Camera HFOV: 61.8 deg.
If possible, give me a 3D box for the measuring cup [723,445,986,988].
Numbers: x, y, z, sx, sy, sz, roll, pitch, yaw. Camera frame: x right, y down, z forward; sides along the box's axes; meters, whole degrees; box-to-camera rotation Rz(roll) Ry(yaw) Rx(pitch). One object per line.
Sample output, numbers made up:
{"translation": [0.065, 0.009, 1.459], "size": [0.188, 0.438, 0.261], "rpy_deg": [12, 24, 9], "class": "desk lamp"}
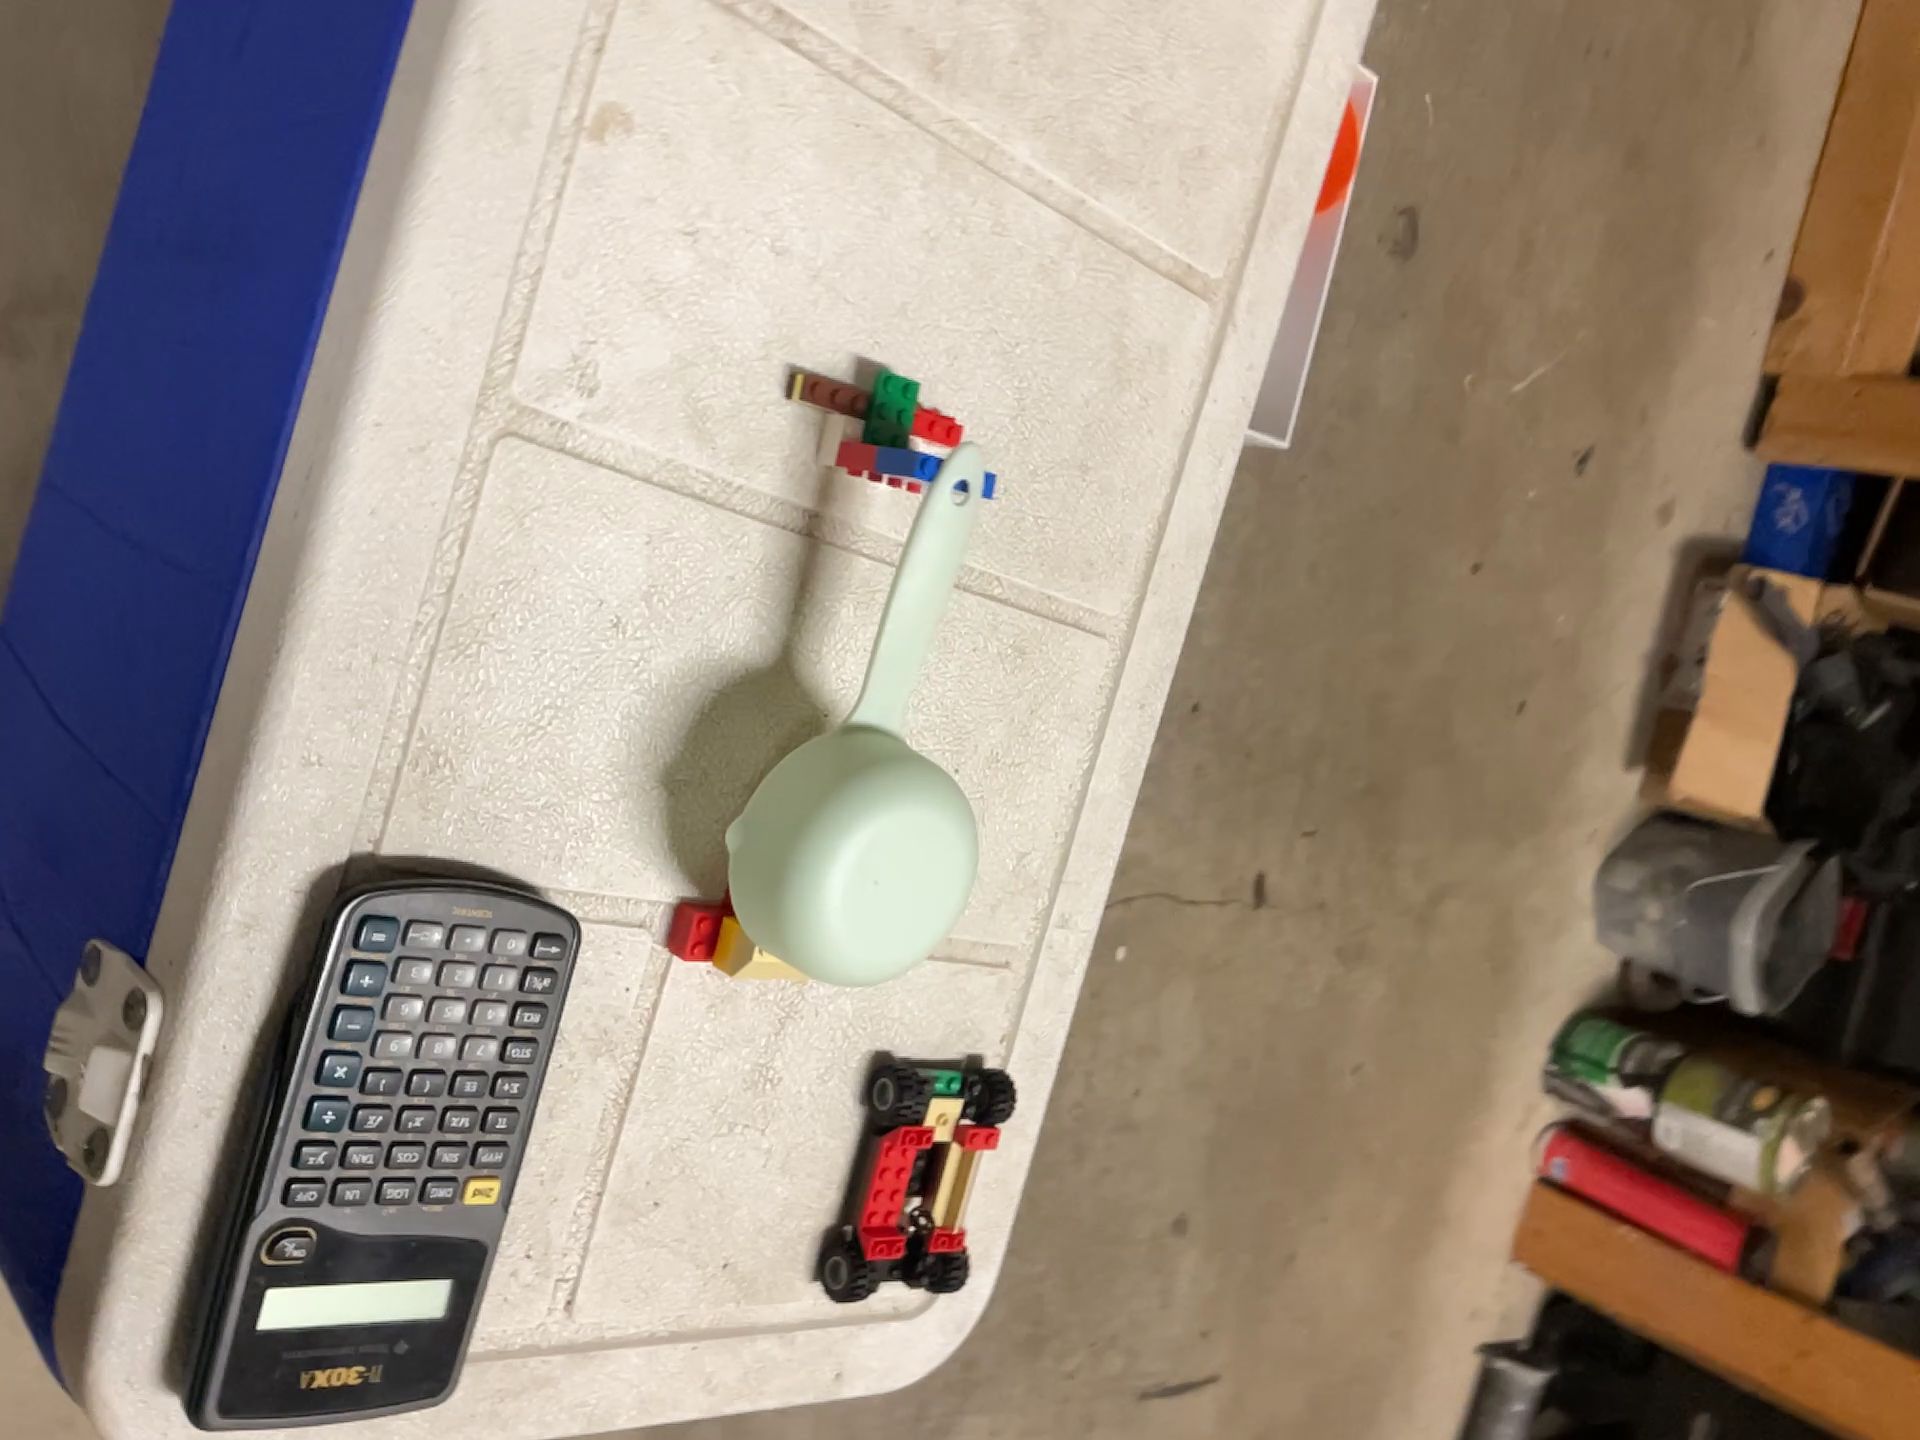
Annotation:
{"translation": [-0.014, 0.001, 0.478], "size": [0.083, 0.038, 0.167], "rpy_deg": [12, 100, -43], "class": "measuring cup"}
